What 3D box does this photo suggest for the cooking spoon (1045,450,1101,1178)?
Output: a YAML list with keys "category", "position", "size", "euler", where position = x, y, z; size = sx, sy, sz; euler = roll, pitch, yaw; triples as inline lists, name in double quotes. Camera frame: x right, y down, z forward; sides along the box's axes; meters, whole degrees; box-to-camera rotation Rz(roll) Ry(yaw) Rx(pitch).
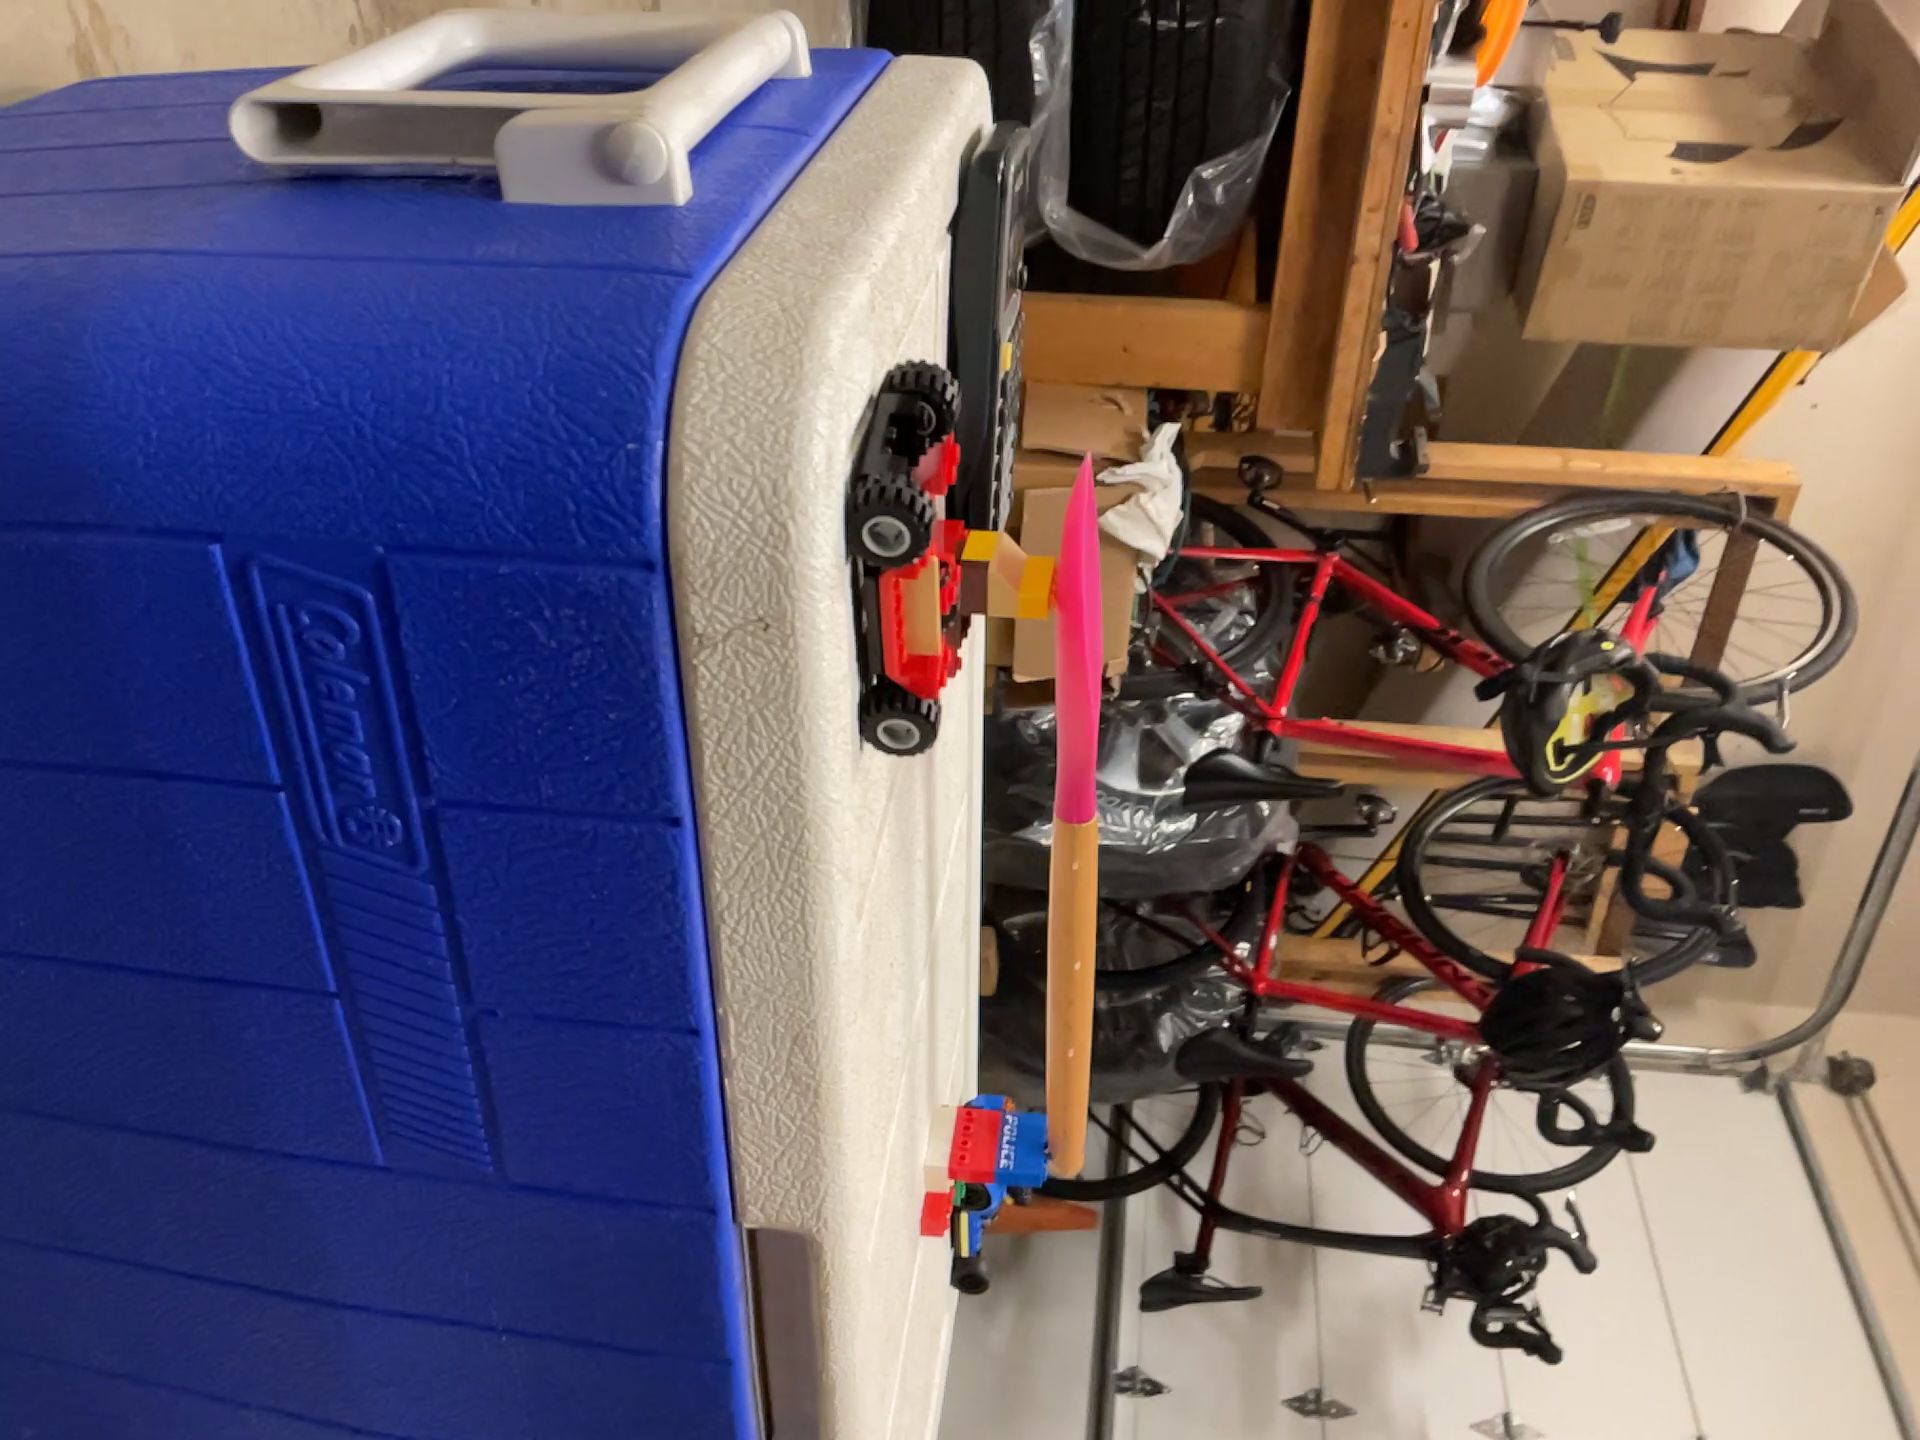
- category: "cooking spoon"
  position: [0.040, 0.054, 0.579]
  size: [0.069, 0.017, 0.318]
  euler: [-77, 168, -56]
